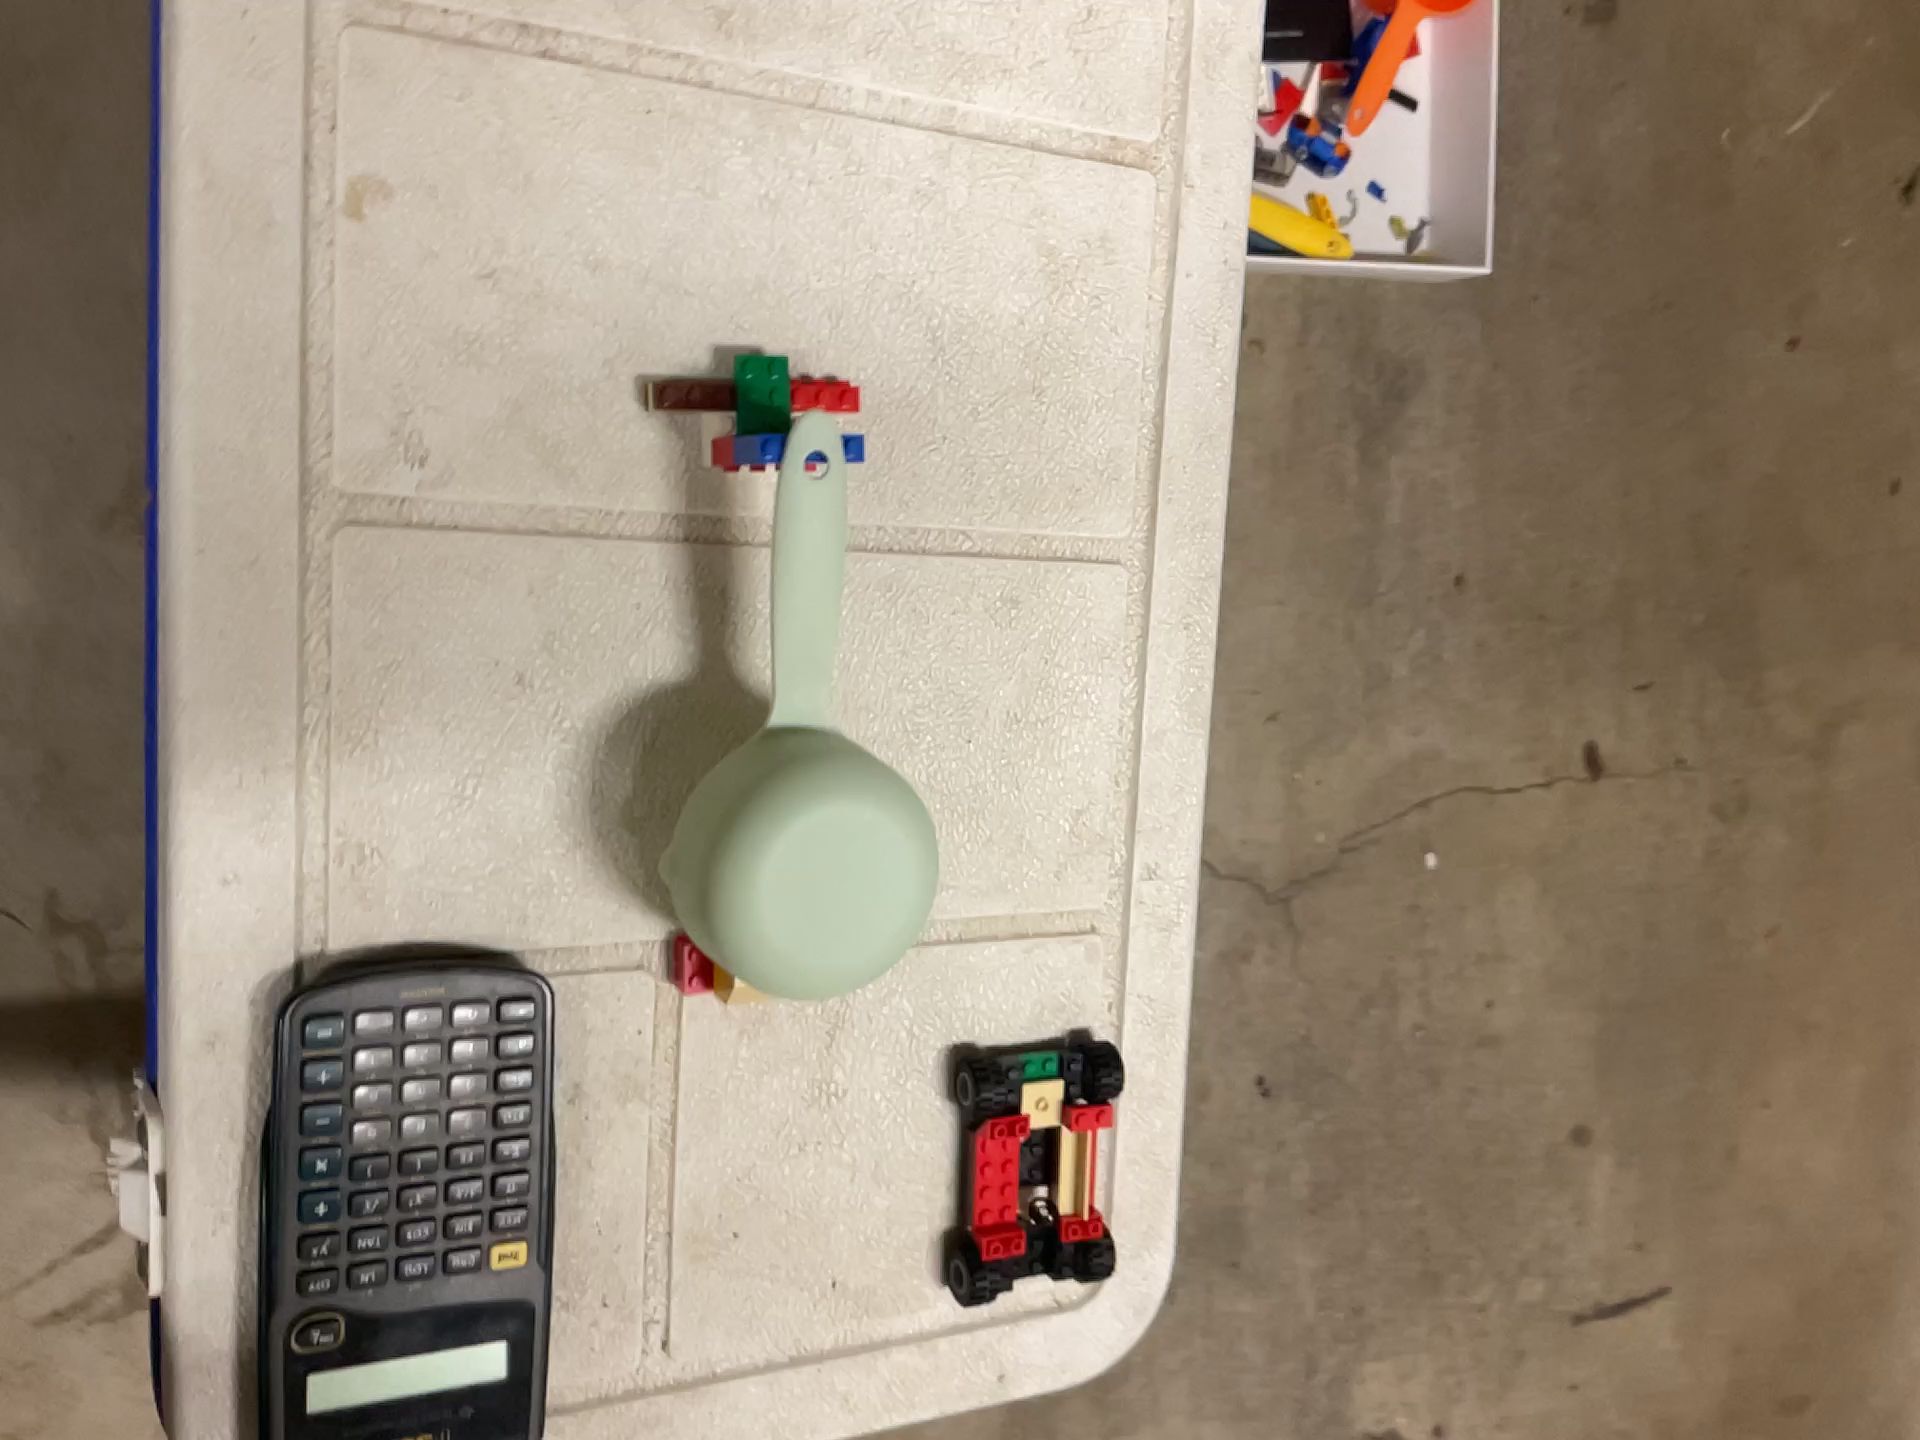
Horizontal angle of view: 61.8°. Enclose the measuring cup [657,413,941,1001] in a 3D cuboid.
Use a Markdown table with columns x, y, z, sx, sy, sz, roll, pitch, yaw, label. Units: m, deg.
| x | y | z | sx | sy | sz | roll | pitch | yaw | label |
| --- | --- | --- | --- | --- | --- | --- | --- | --- | --- |
| -0.039 | -0.001 | 0.451 | 0.083 | 0.038 | 0.167 | -3 | 104 | -27 | measuring cup |
